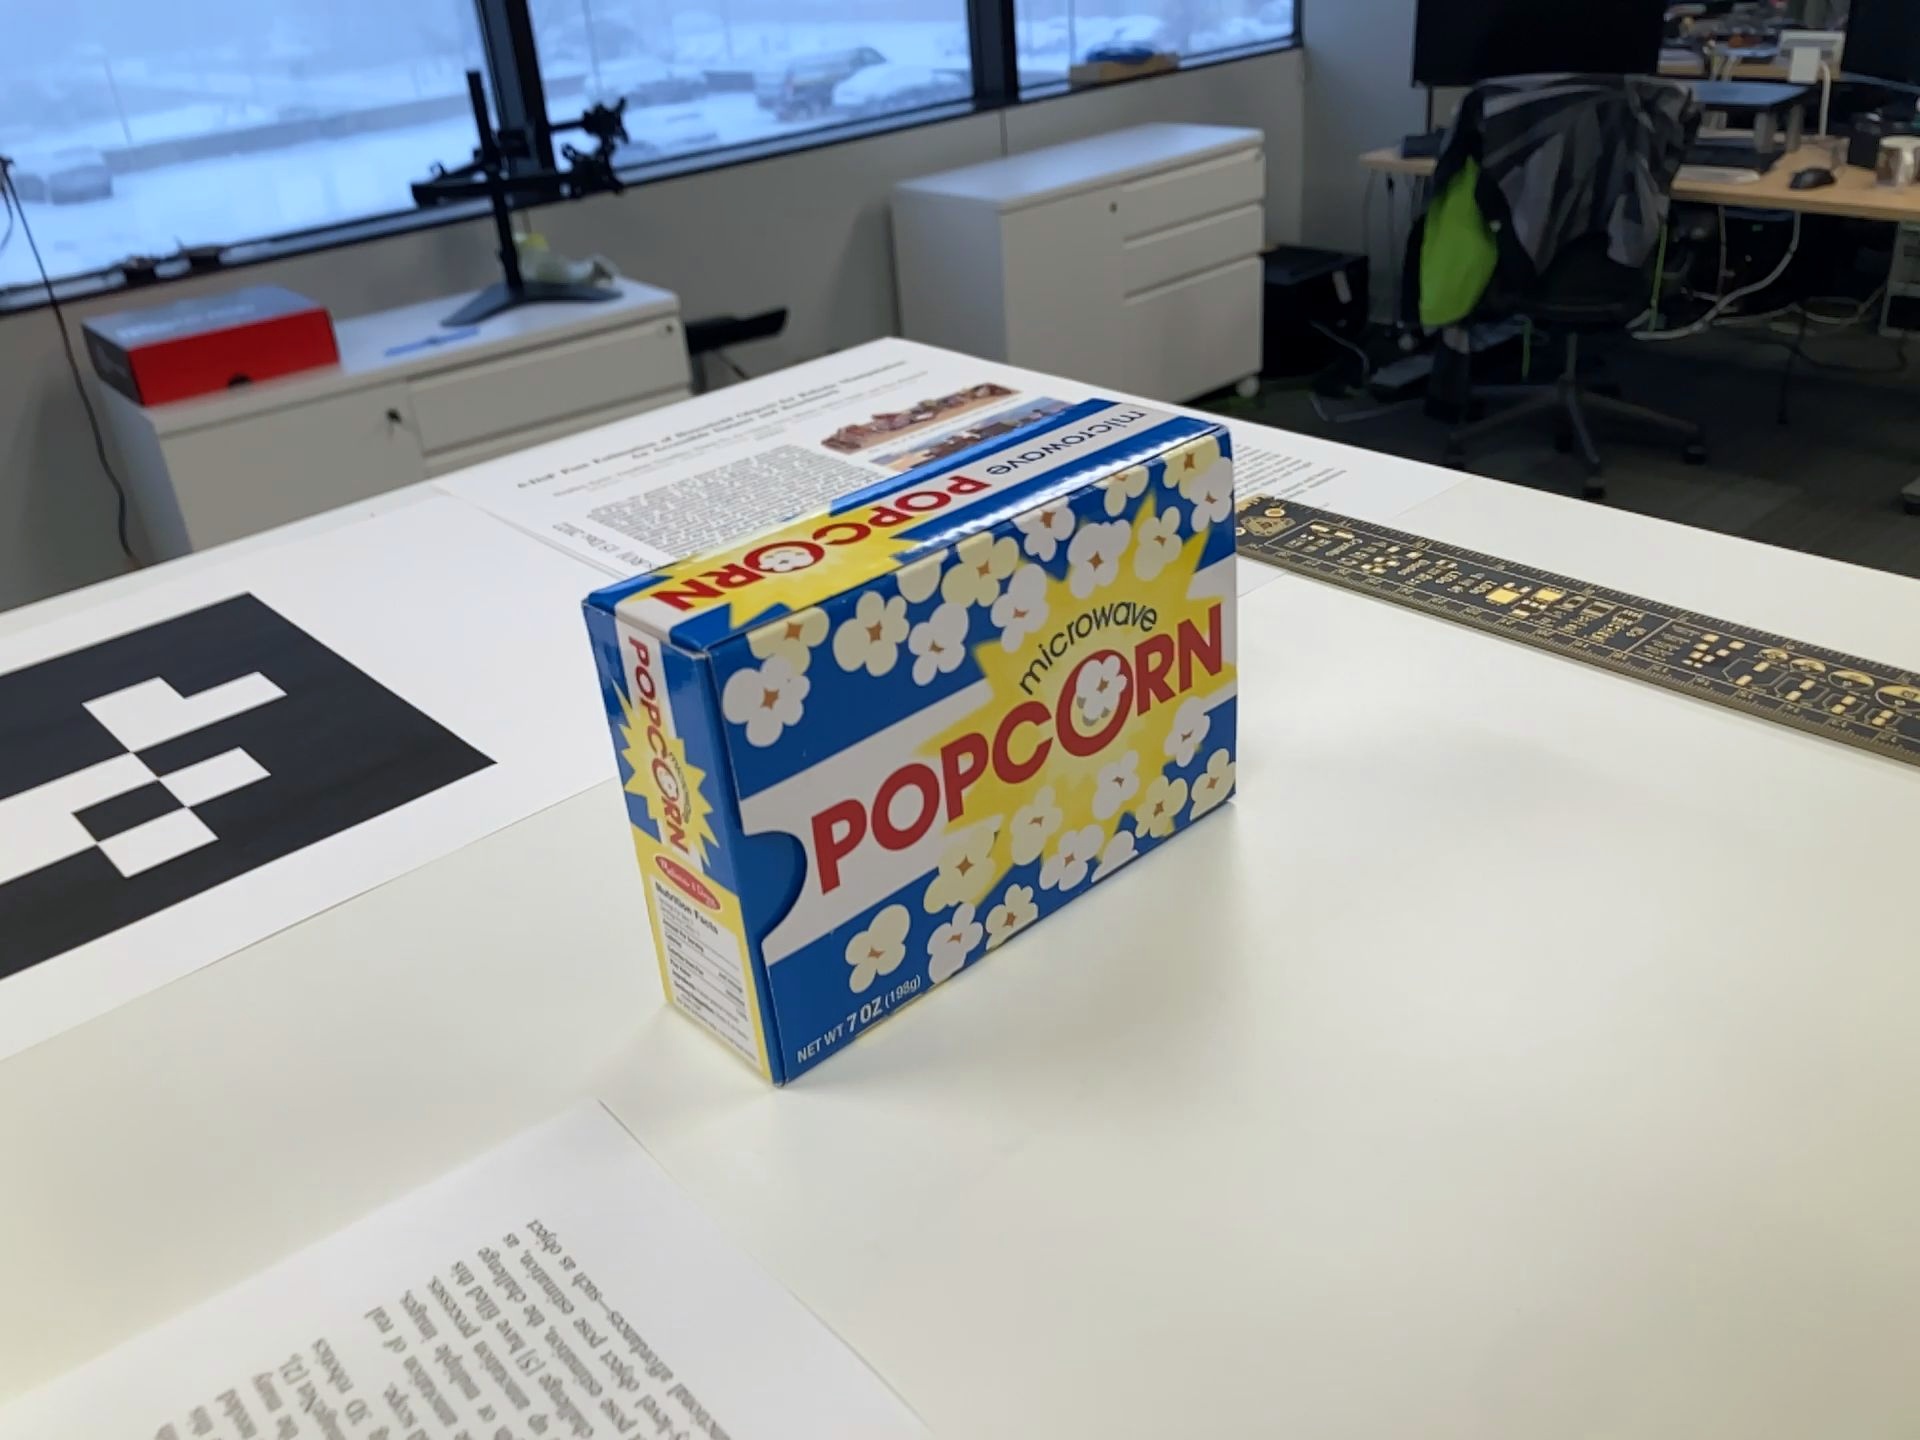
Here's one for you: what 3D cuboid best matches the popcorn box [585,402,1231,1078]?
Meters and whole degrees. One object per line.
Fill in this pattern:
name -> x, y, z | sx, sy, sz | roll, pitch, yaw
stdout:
popcorn box -> -0.001, -0.002, 0.303 | 0.126, 0.085, 0.038 | -27, 35, -34
